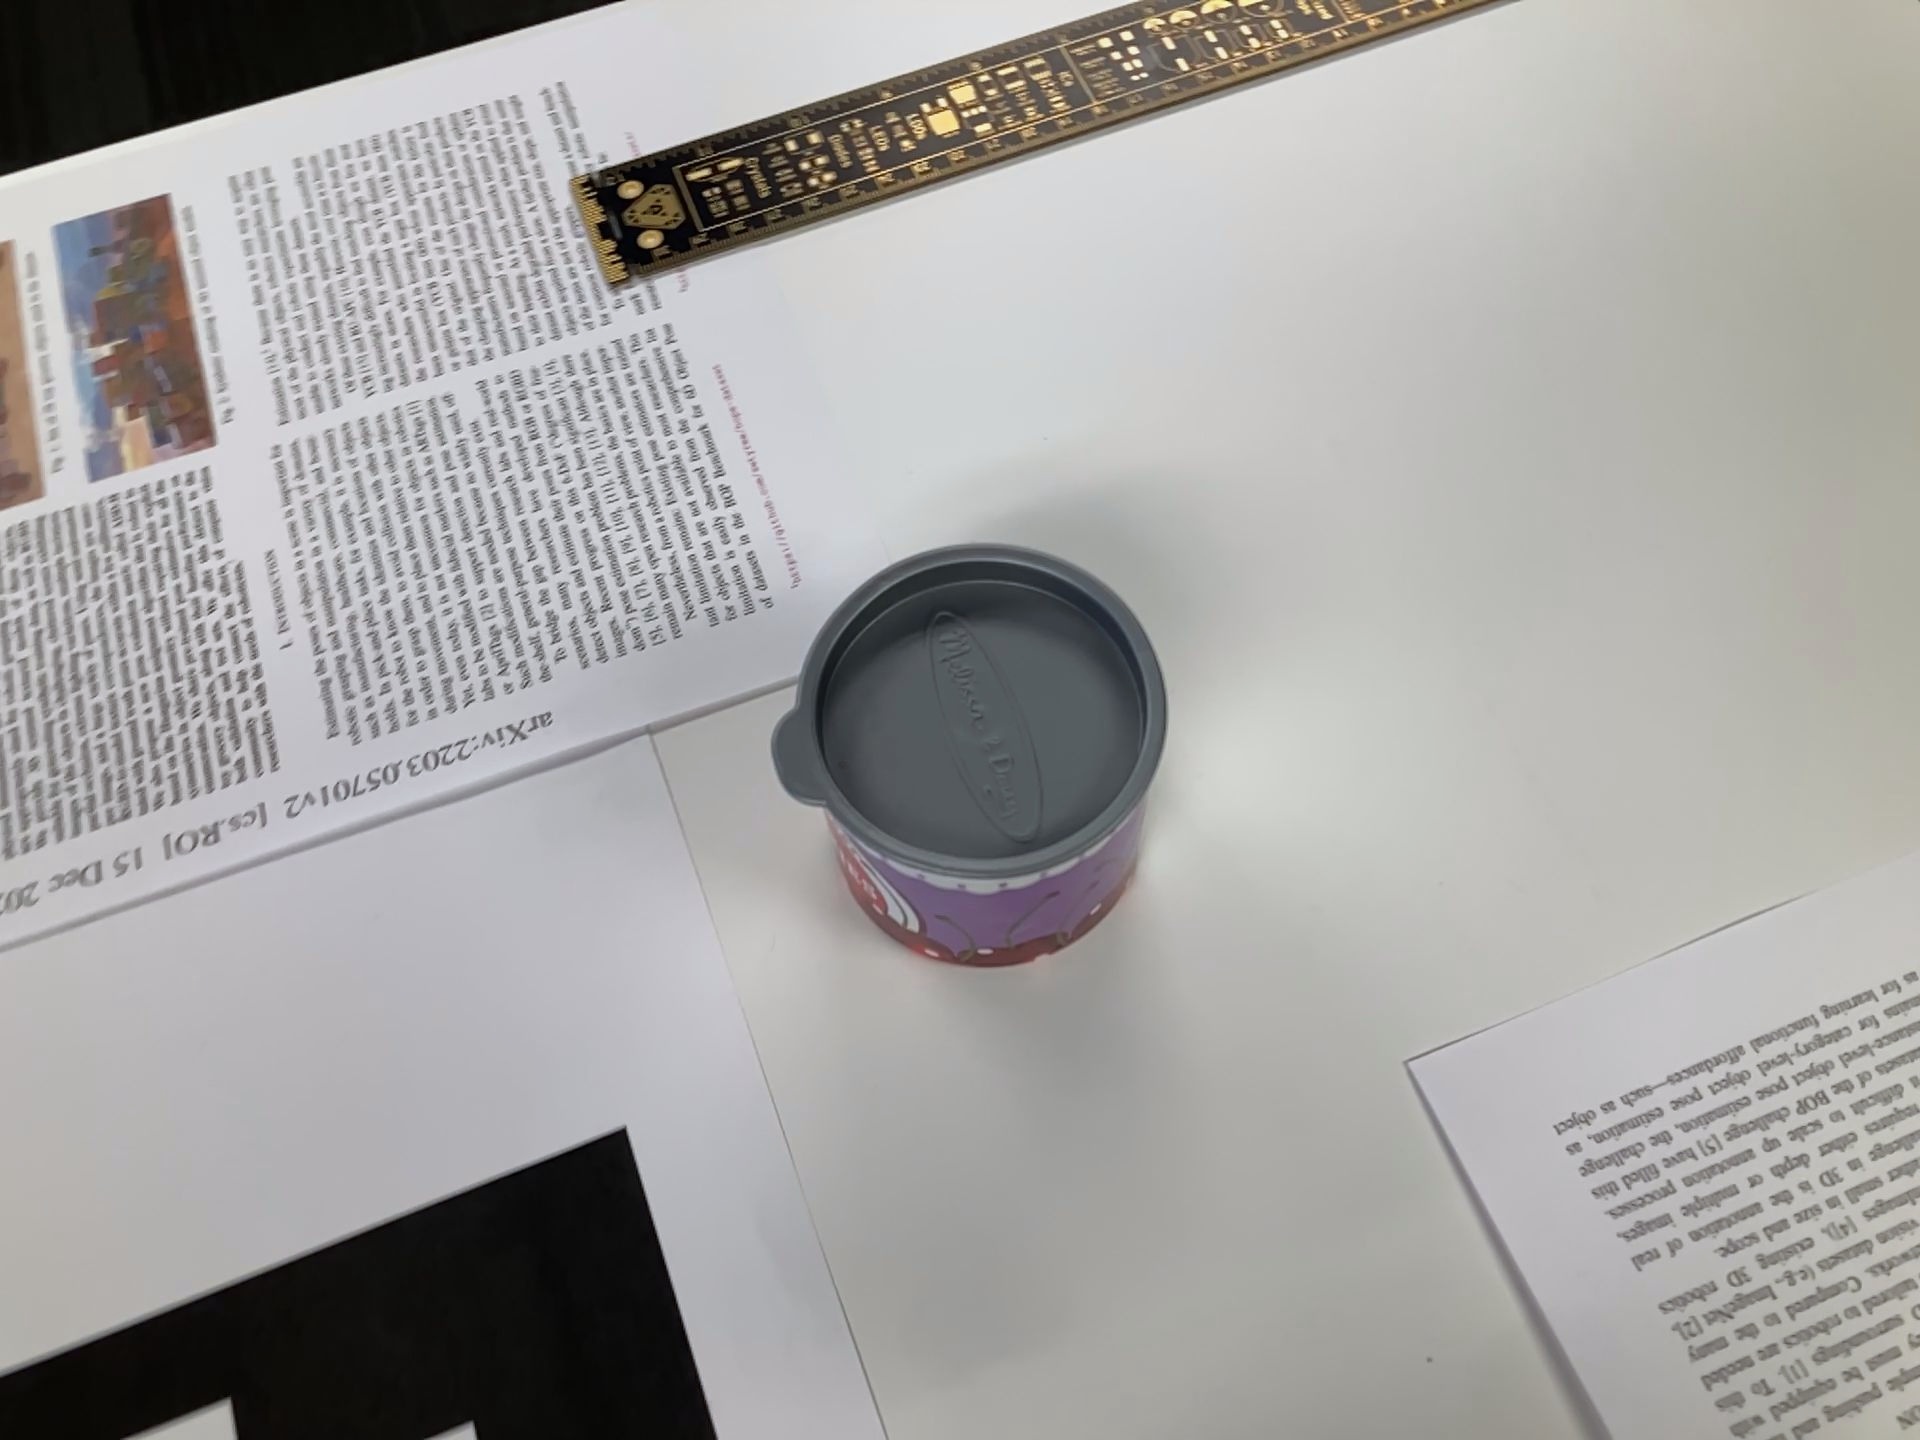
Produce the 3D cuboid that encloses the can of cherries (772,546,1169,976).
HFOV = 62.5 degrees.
[{"bbox_3d":[0.002,0.010,0.304,0.071,0.058,0.071,-1,64,2],"label":"can of cherries"}]
